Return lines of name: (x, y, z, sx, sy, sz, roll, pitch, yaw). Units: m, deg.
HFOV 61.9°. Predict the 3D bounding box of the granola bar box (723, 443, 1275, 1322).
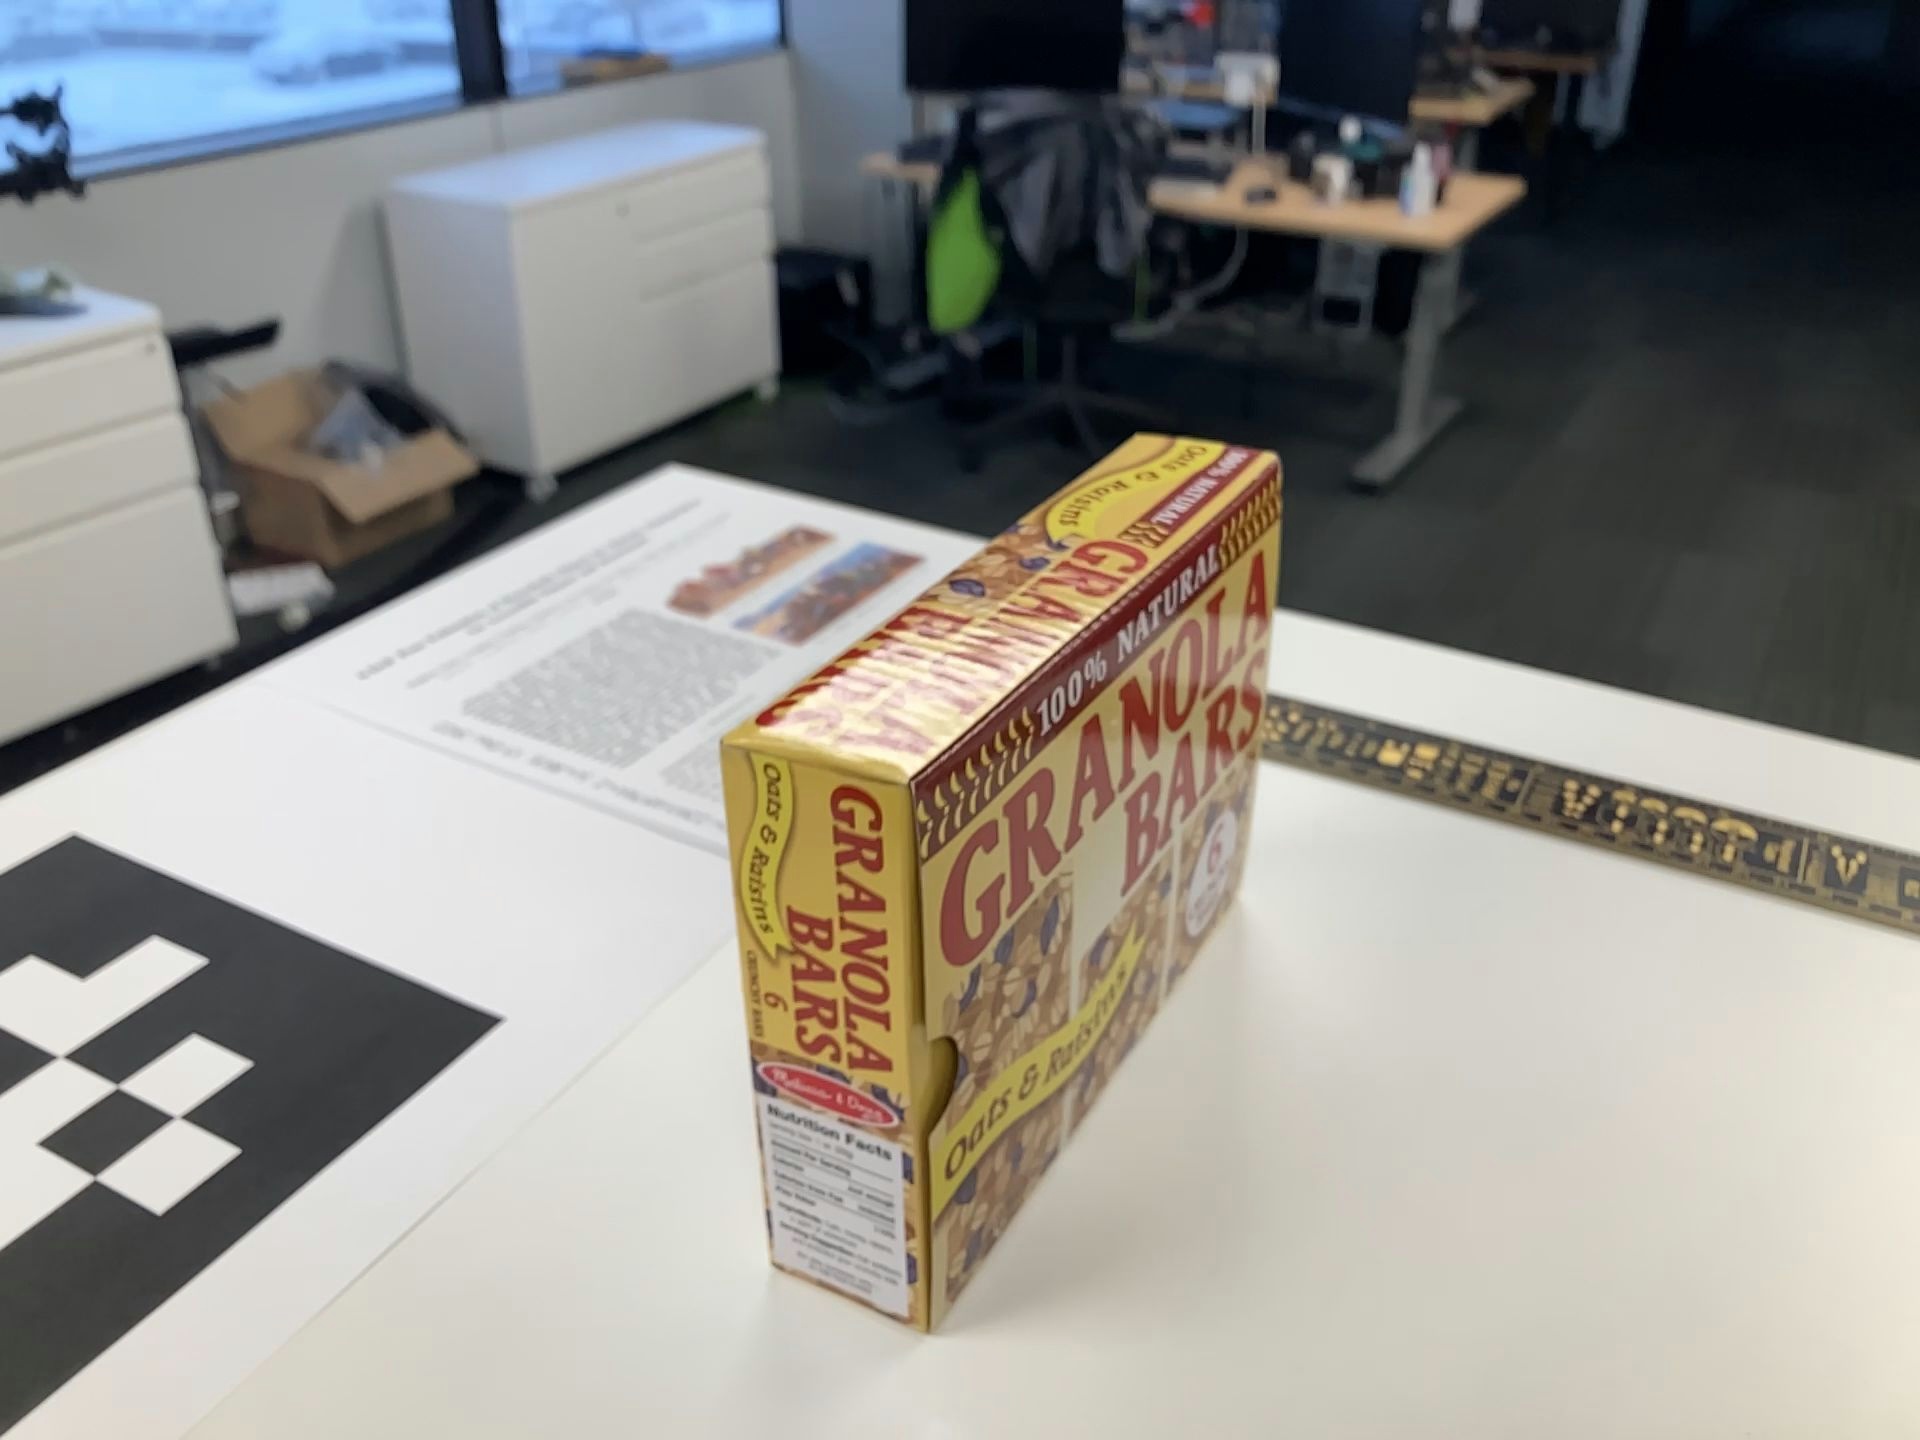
granola bar box: (0.019, 0.024, 0.346, 0.039, 0.124, 0.165, 14, 32, 26)
